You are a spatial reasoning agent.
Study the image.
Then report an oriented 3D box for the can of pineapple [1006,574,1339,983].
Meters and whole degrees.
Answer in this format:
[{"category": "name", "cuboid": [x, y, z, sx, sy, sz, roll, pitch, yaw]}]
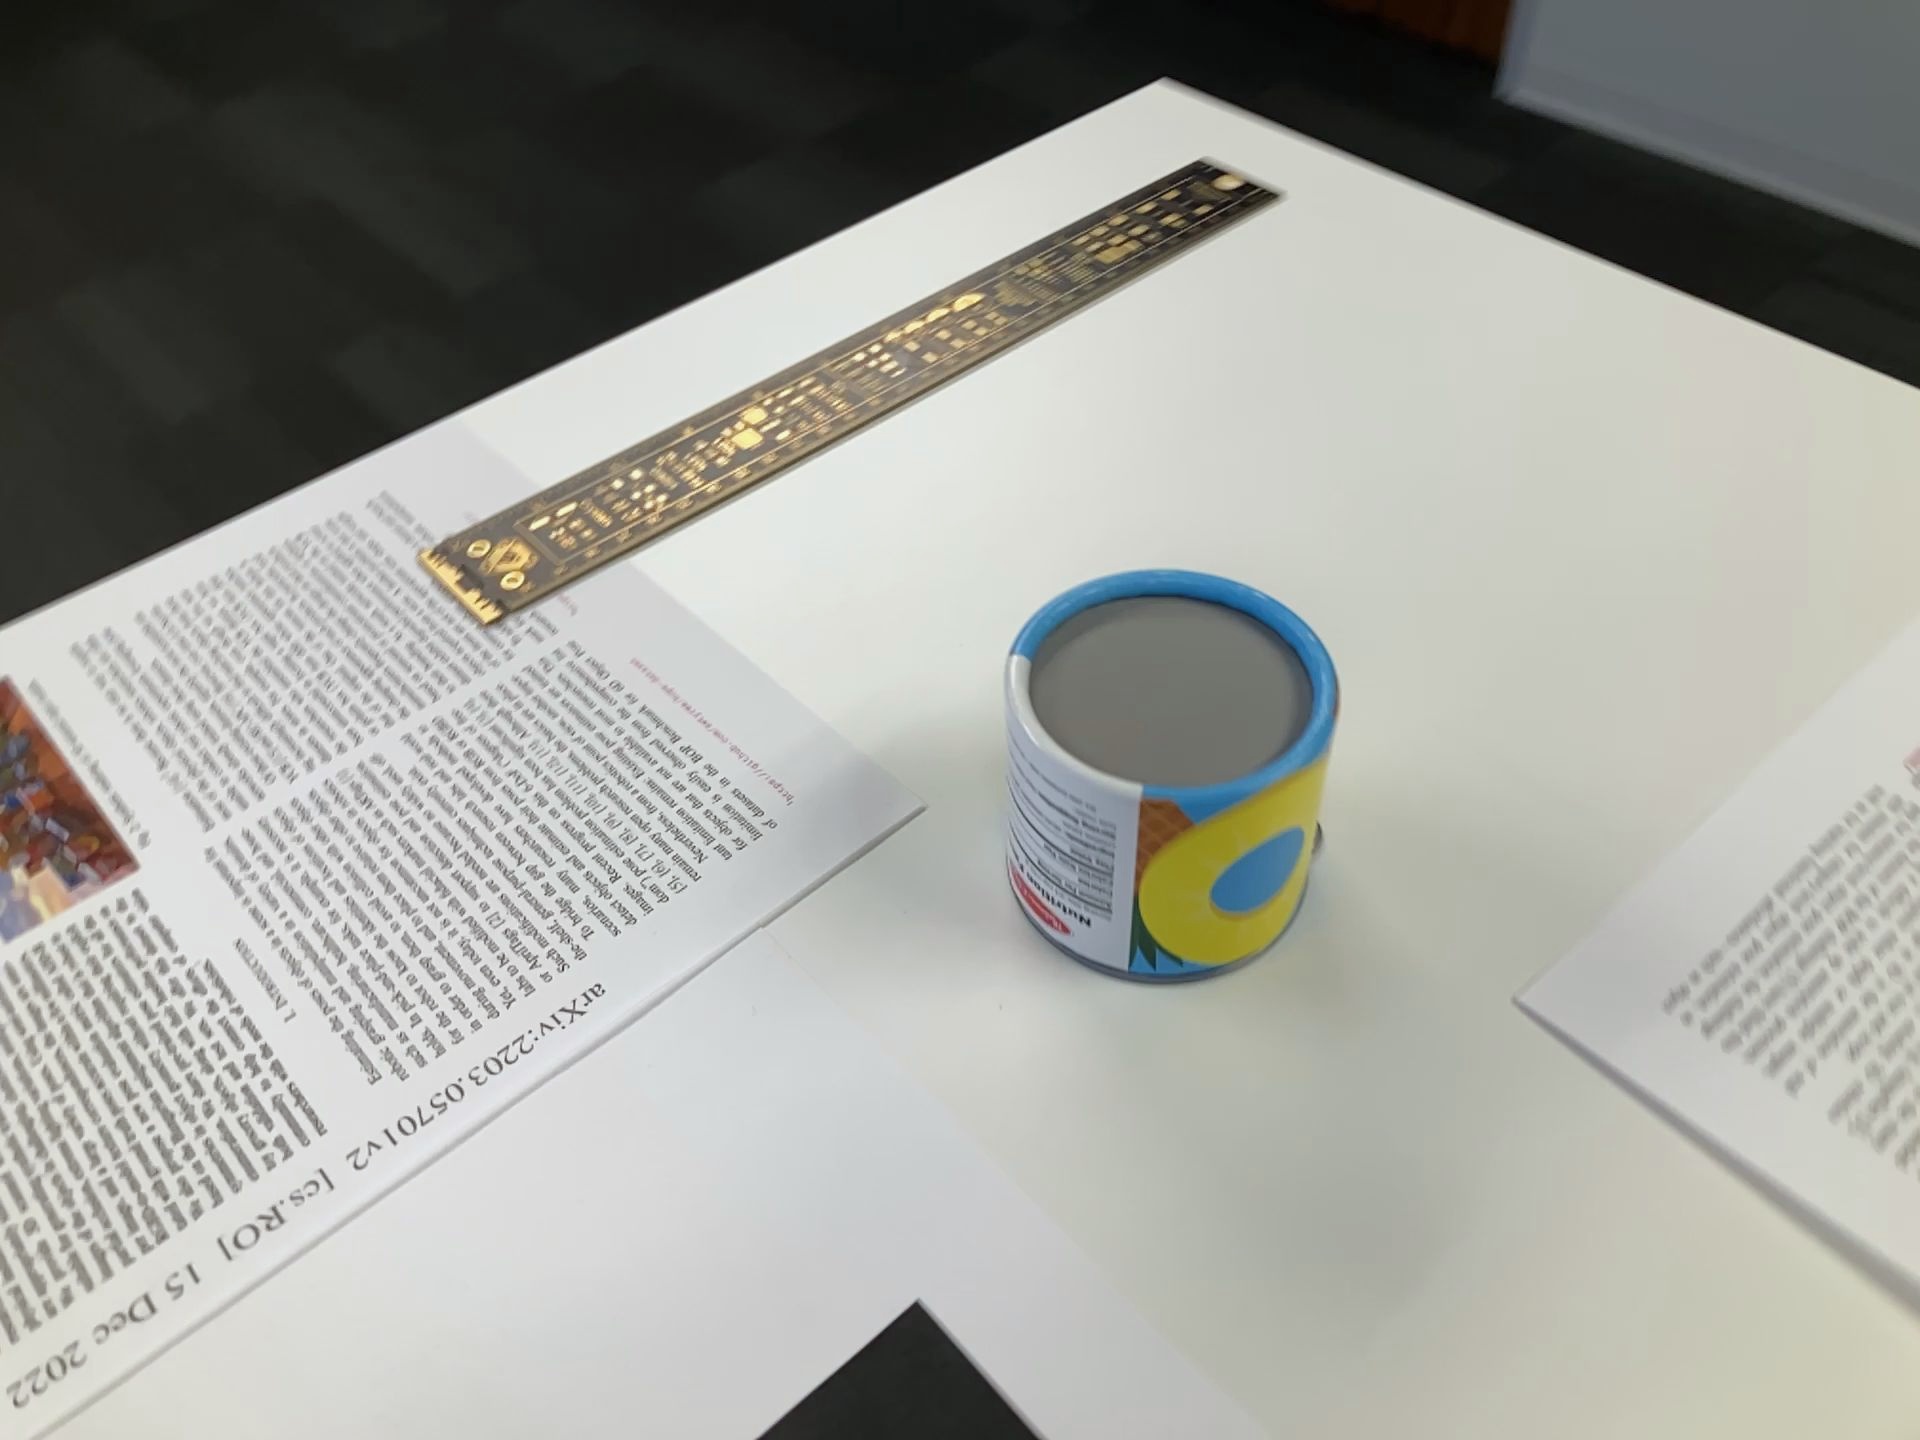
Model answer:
[{"category": "can of pineapple", "cuboid": [0.044, 0.011, 0.333, 0.071, 0.058, 0.071, -1, 46, 1]}]
